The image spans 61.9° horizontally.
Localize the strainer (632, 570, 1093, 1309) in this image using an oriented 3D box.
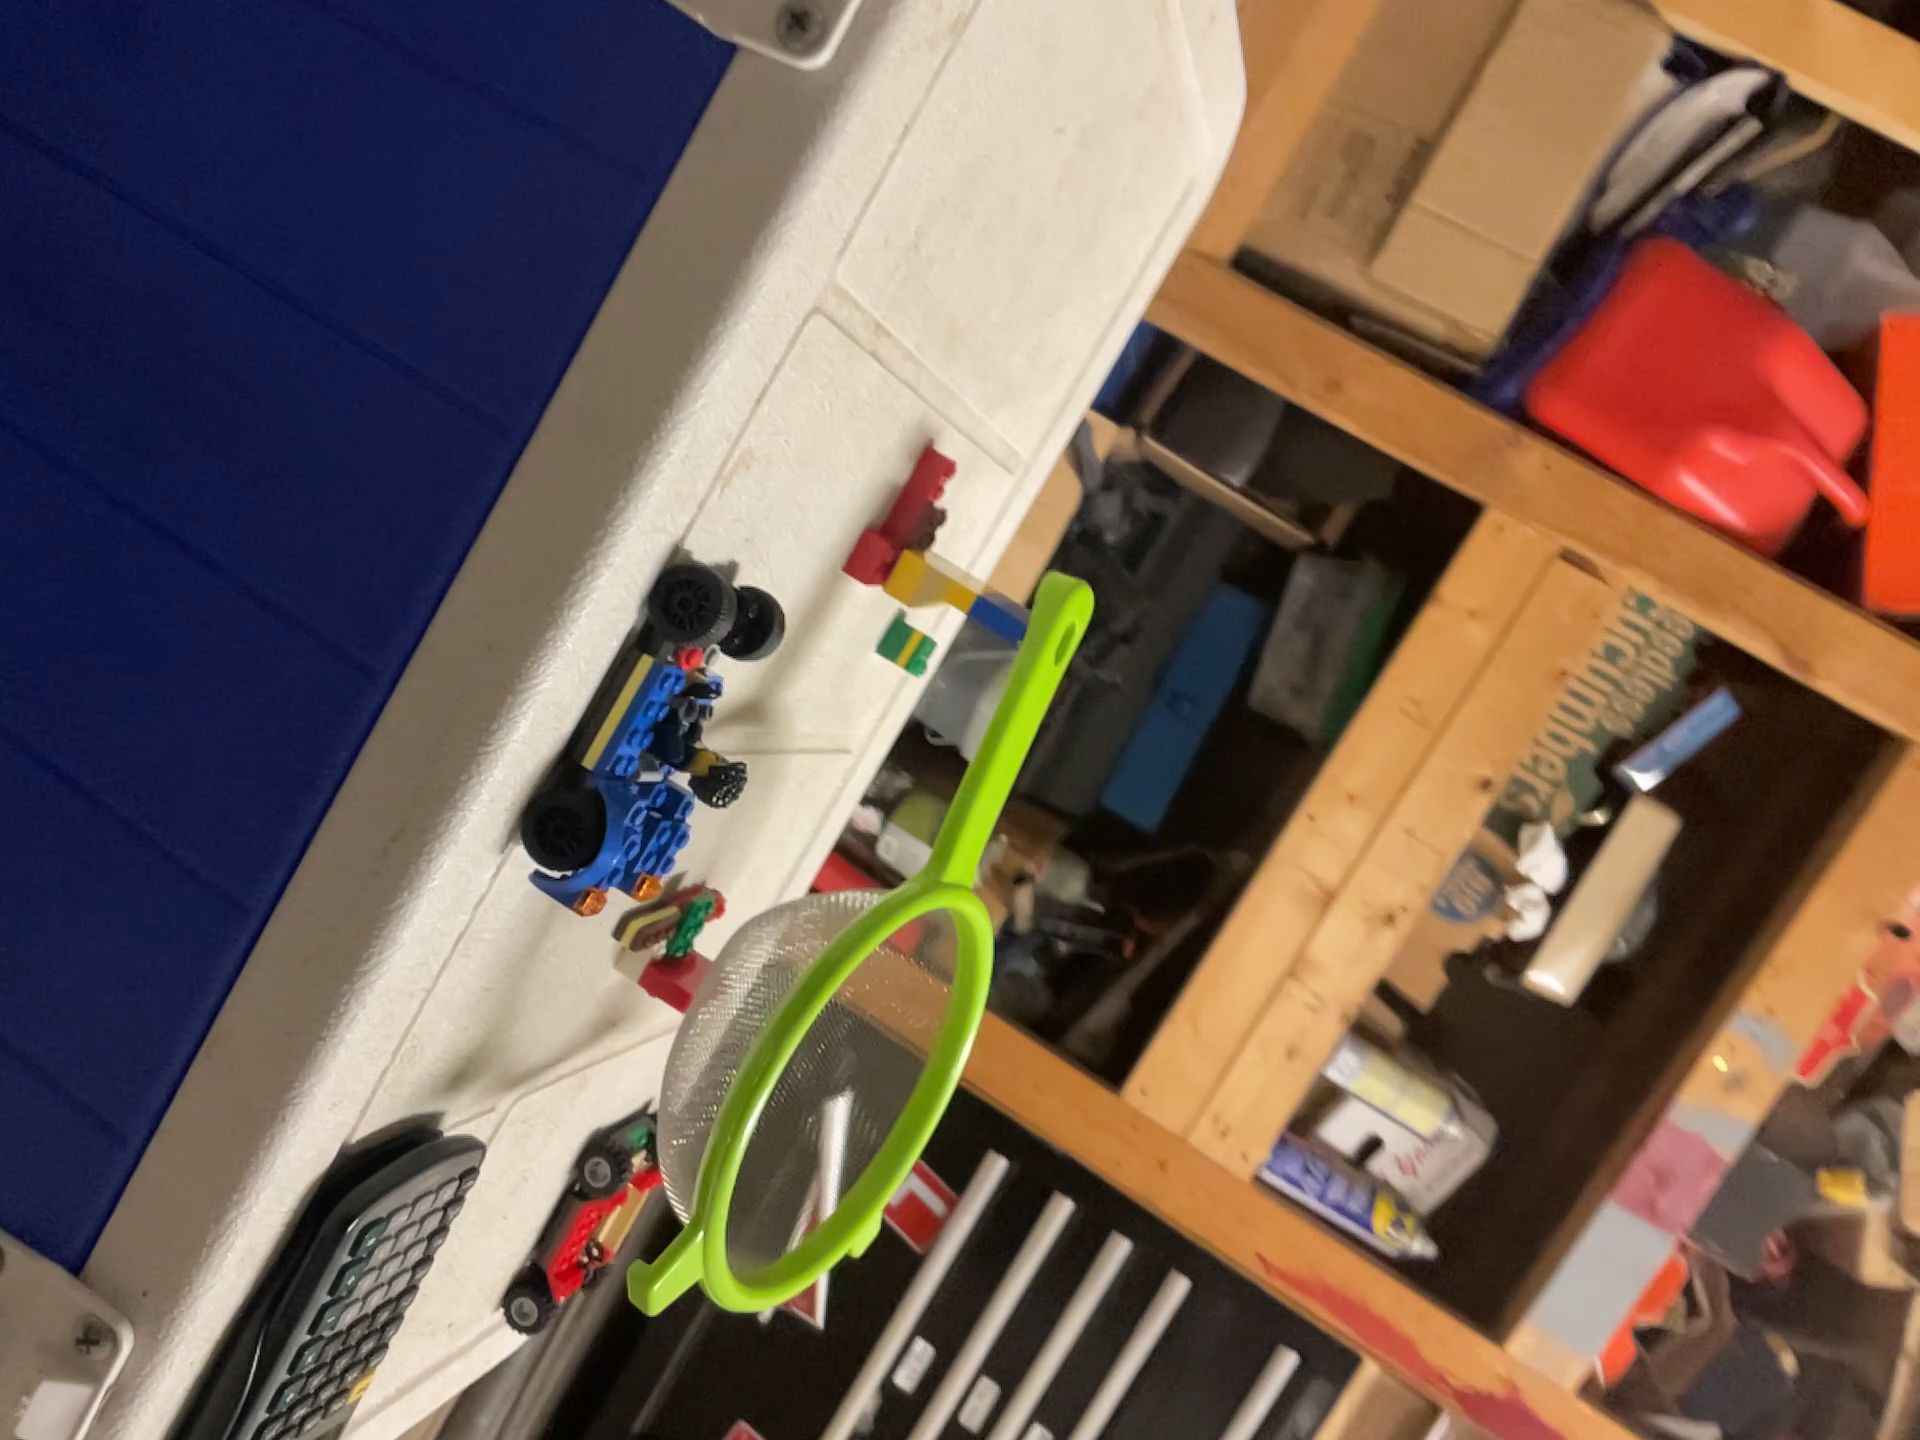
[{"bbox_3d":[-0.034,0.061,0.531,0.256,0.069,0.151,-66,155,-1],"label":"strainer"}]
